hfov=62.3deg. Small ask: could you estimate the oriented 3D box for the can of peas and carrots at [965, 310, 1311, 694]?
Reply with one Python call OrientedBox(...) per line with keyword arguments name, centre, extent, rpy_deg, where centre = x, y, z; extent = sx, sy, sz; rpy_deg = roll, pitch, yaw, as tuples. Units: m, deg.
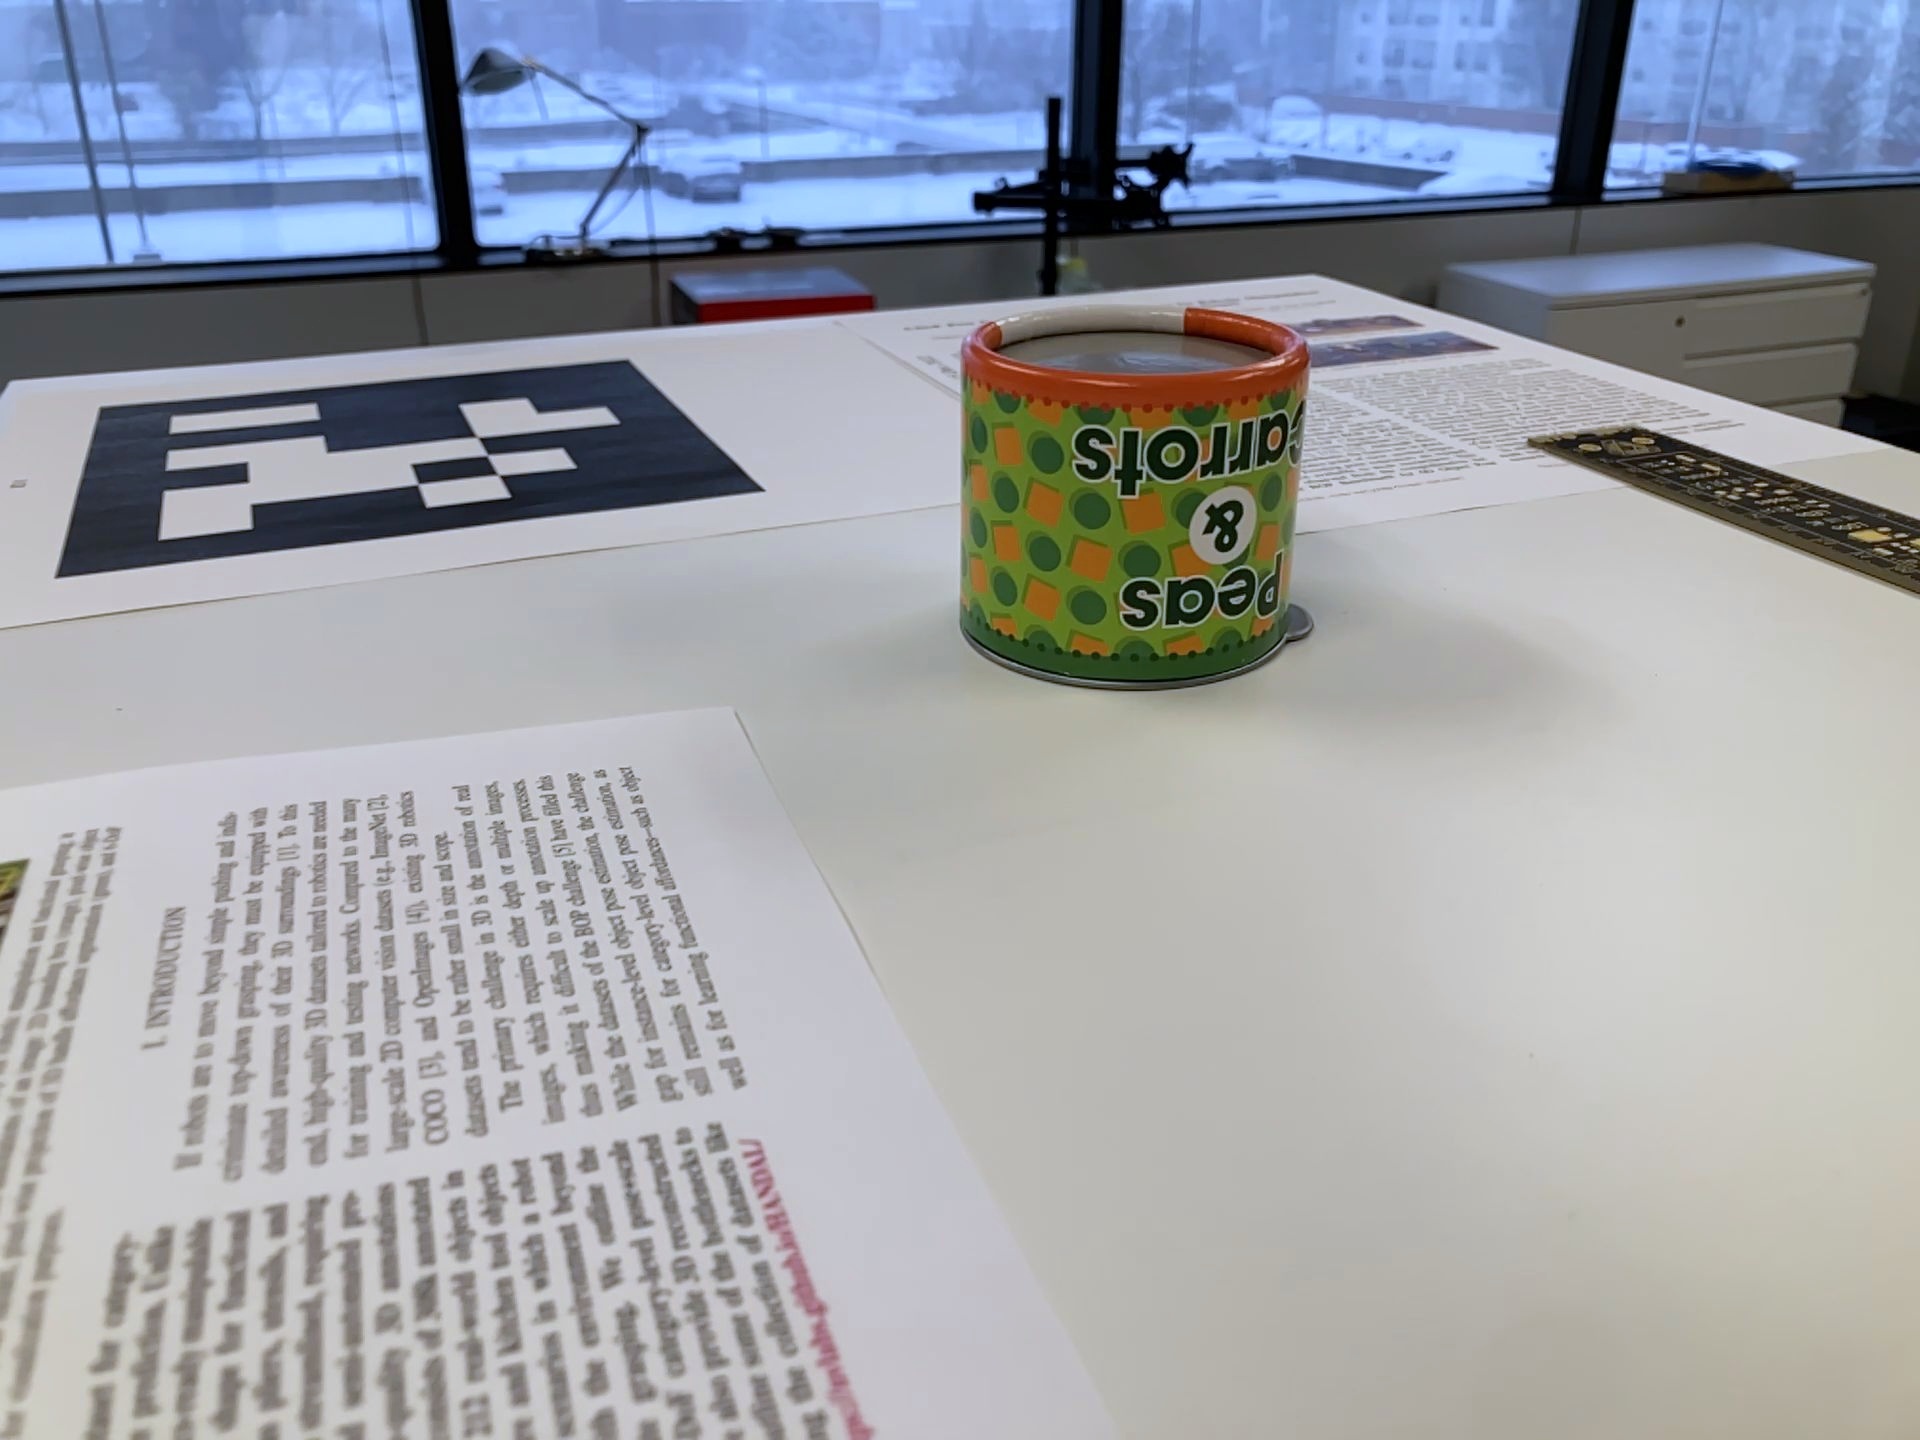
OrientedBox(name="can of peas and carrots", centre=(0.035, -0.045, 0.311), extent=(0.071, 0.059, 0.071), rpy_deg=(-1, 25, 0))
